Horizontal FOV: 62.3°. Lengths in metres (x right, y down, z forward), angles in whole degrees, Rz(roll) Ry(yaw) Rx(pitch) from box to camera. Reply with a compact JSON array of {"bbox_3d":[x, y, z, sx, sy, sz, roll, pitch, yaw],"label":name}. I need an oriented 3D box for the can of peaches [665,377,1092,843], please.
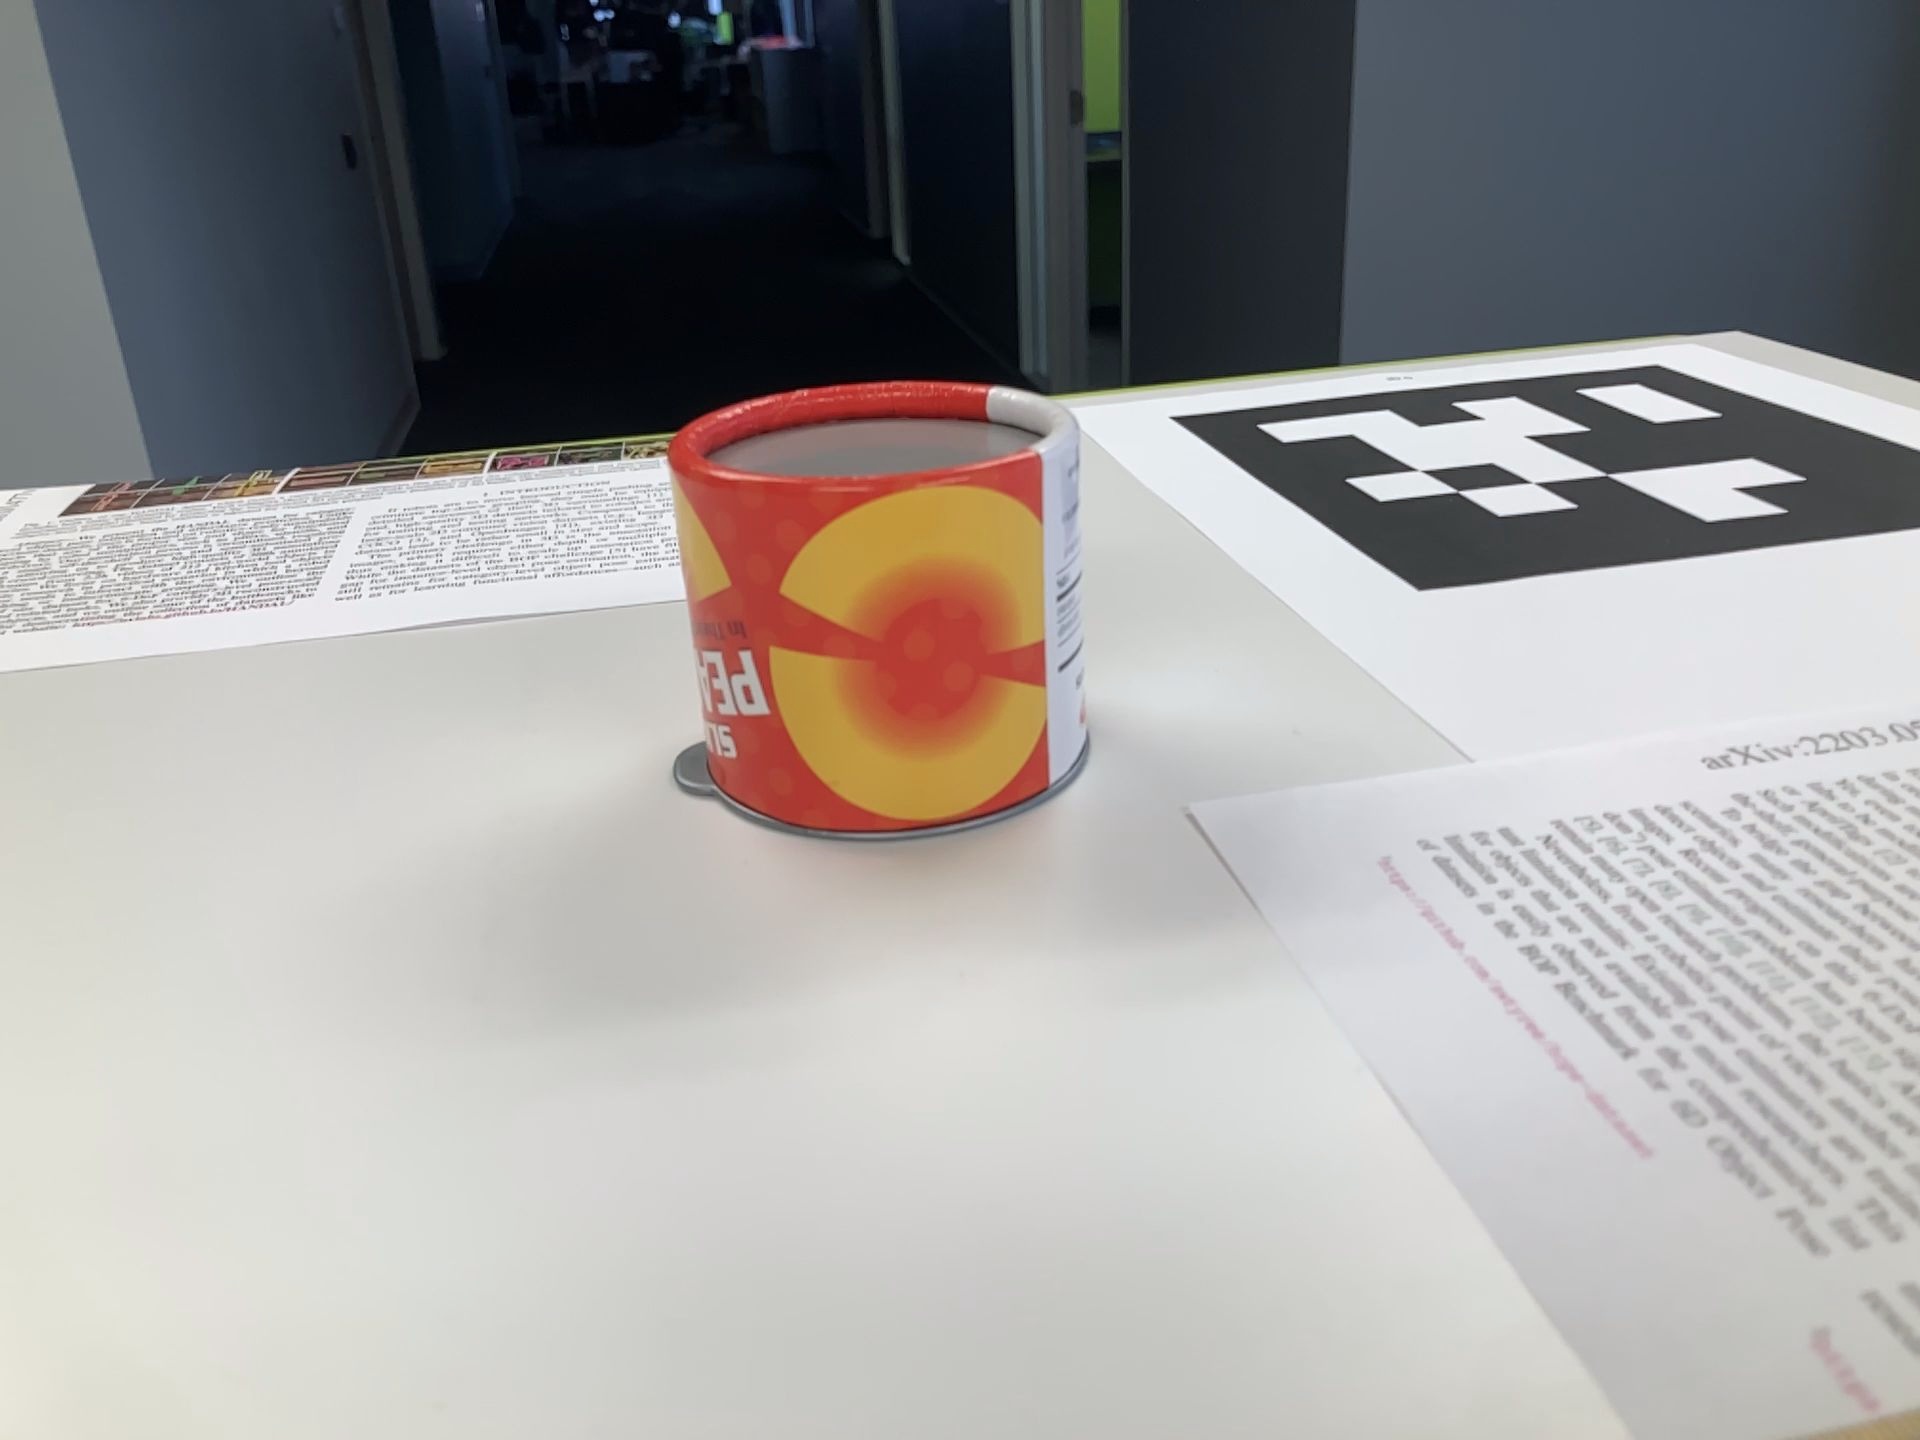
[{"bbox_3d":[-0.014,-0.021,0.257,0.071,0.058,0.071,-2,24,1],"label":"can of peaches"}]
